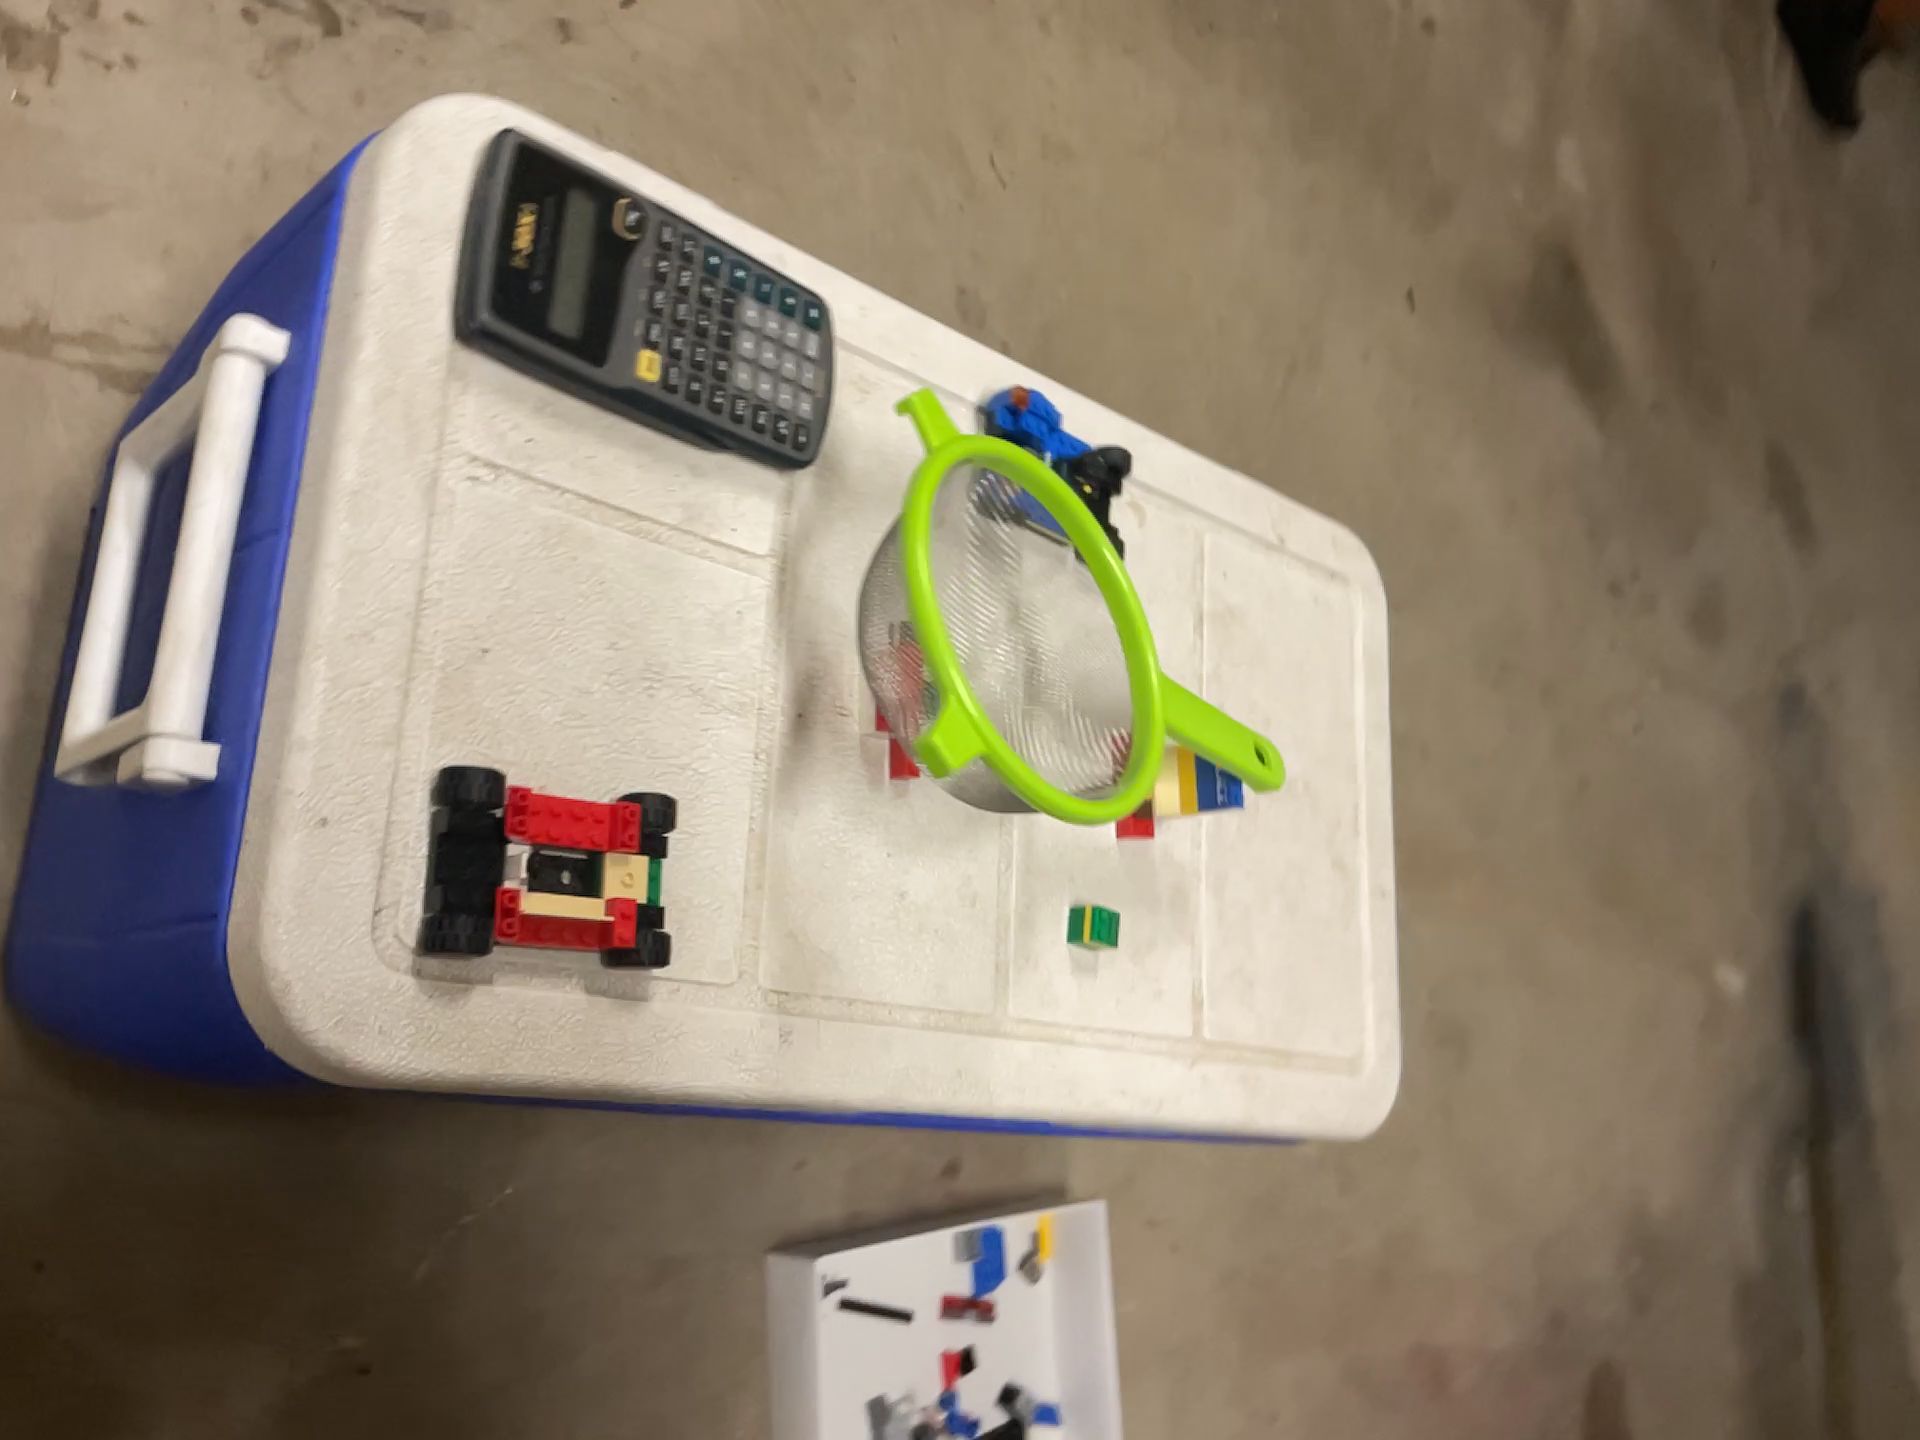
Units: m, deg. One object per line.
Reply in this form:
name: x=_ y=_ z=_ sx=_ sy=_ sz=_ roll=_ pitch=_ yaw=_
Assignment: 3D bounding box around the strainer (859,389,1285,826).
strainer: x=0.042 y=-0.009 z=0.635 sx=0.256 sy=0.069 sz=0.152 roll=27 pitch=50 yaw=-46
